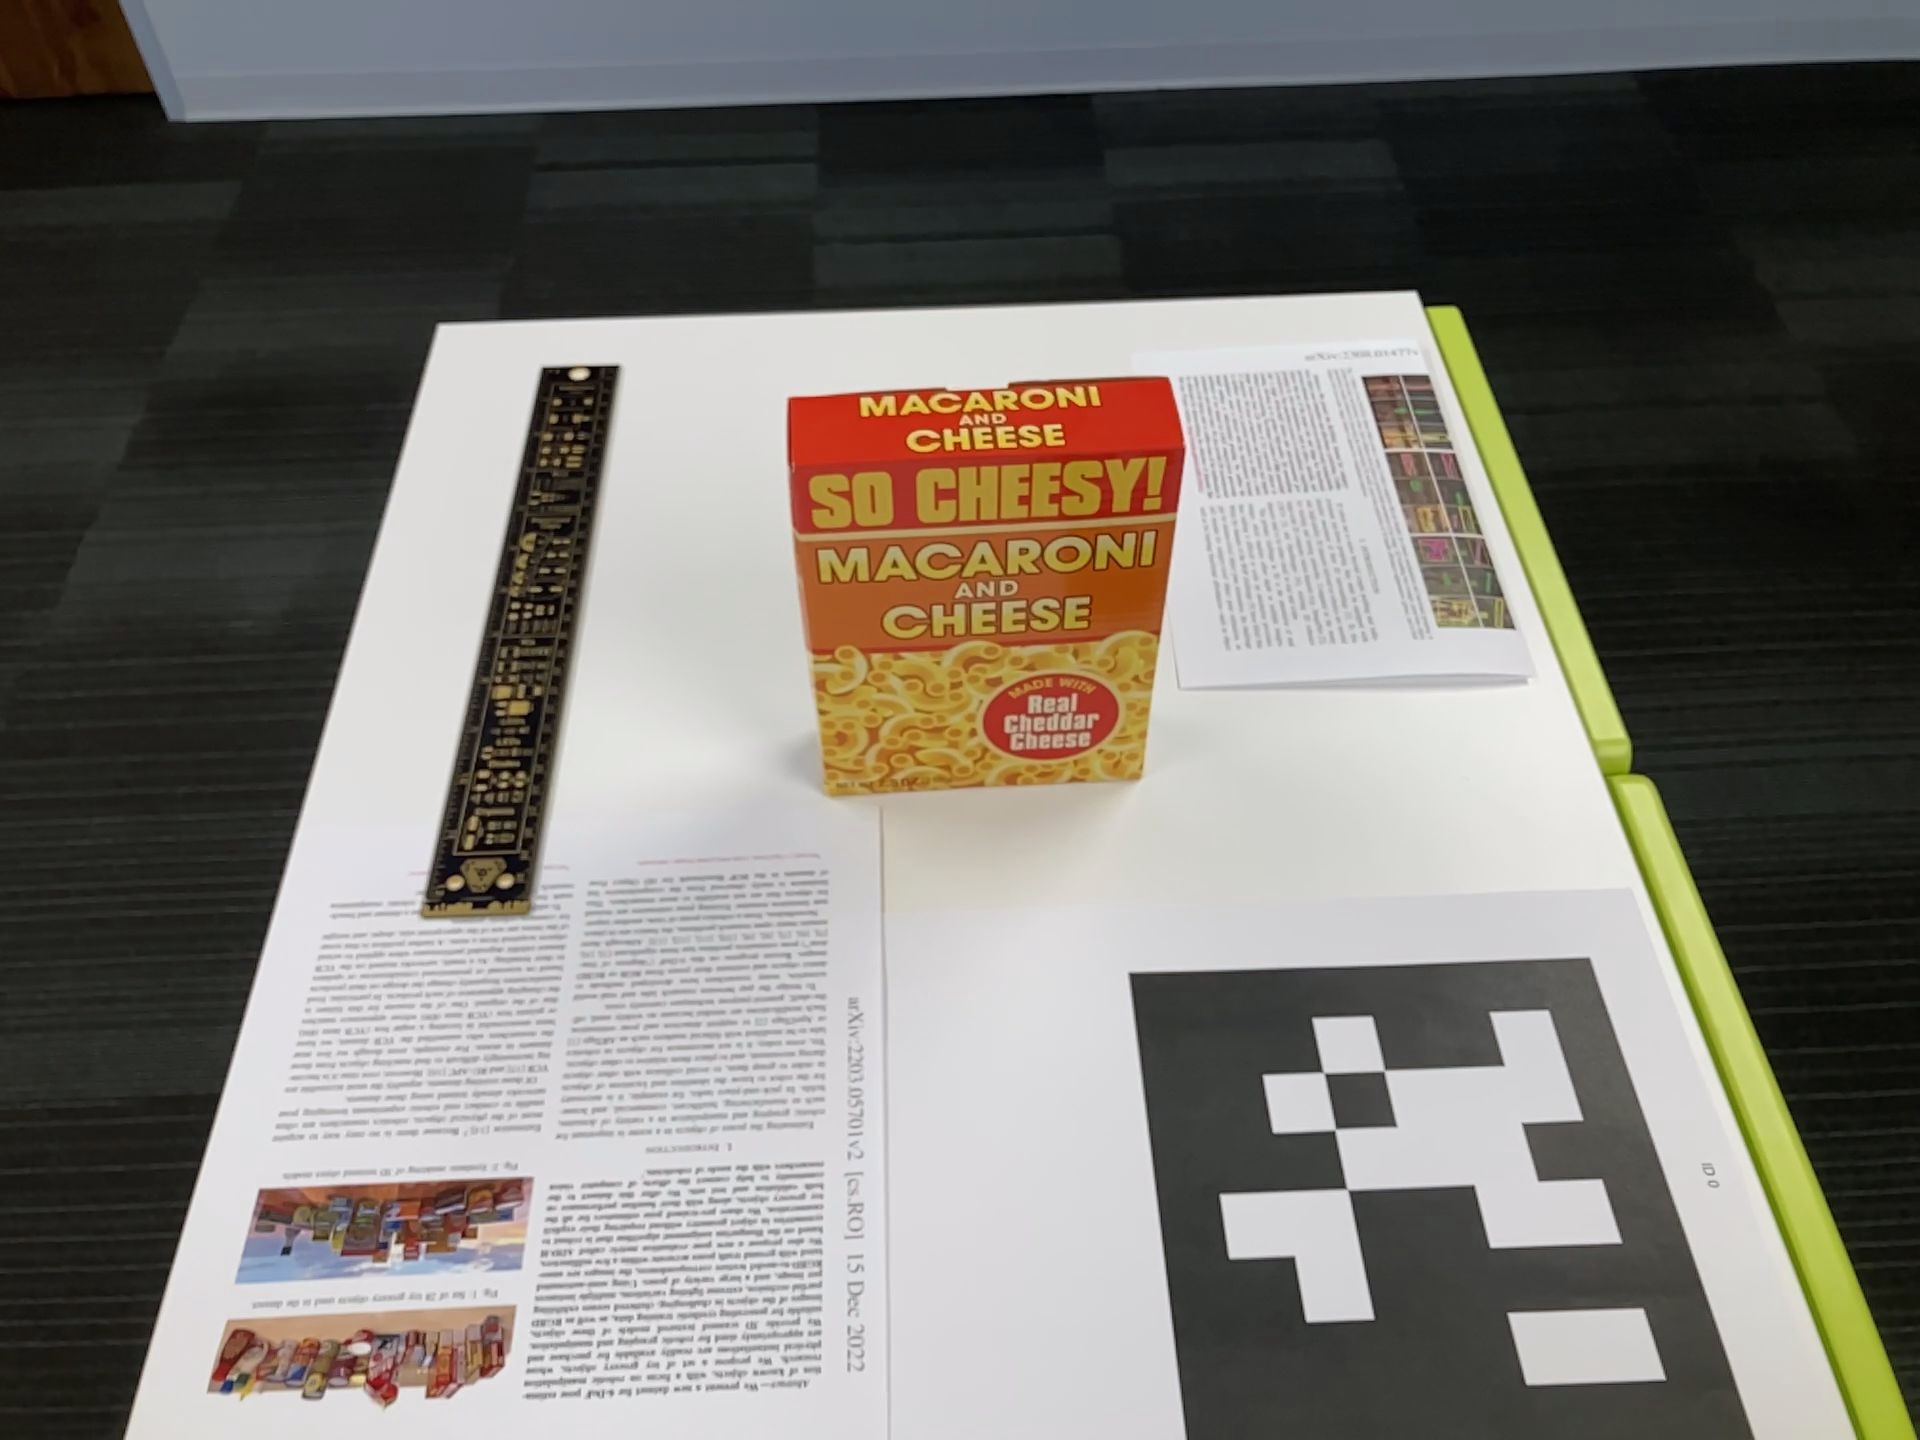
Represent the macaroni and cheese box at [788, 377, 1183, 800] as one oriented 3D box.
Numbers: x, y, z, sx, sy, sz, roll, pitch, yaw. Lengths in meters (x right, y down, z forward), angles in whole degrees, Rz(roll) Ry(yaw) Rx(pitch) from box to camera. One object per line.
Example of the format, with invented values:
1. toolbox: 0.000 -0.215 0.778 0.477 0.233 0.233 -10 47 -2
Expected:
1. macaroni and cheese box: 0.007 -0.041 0.559 0.124 0.166 0.040 -4 50 -3
